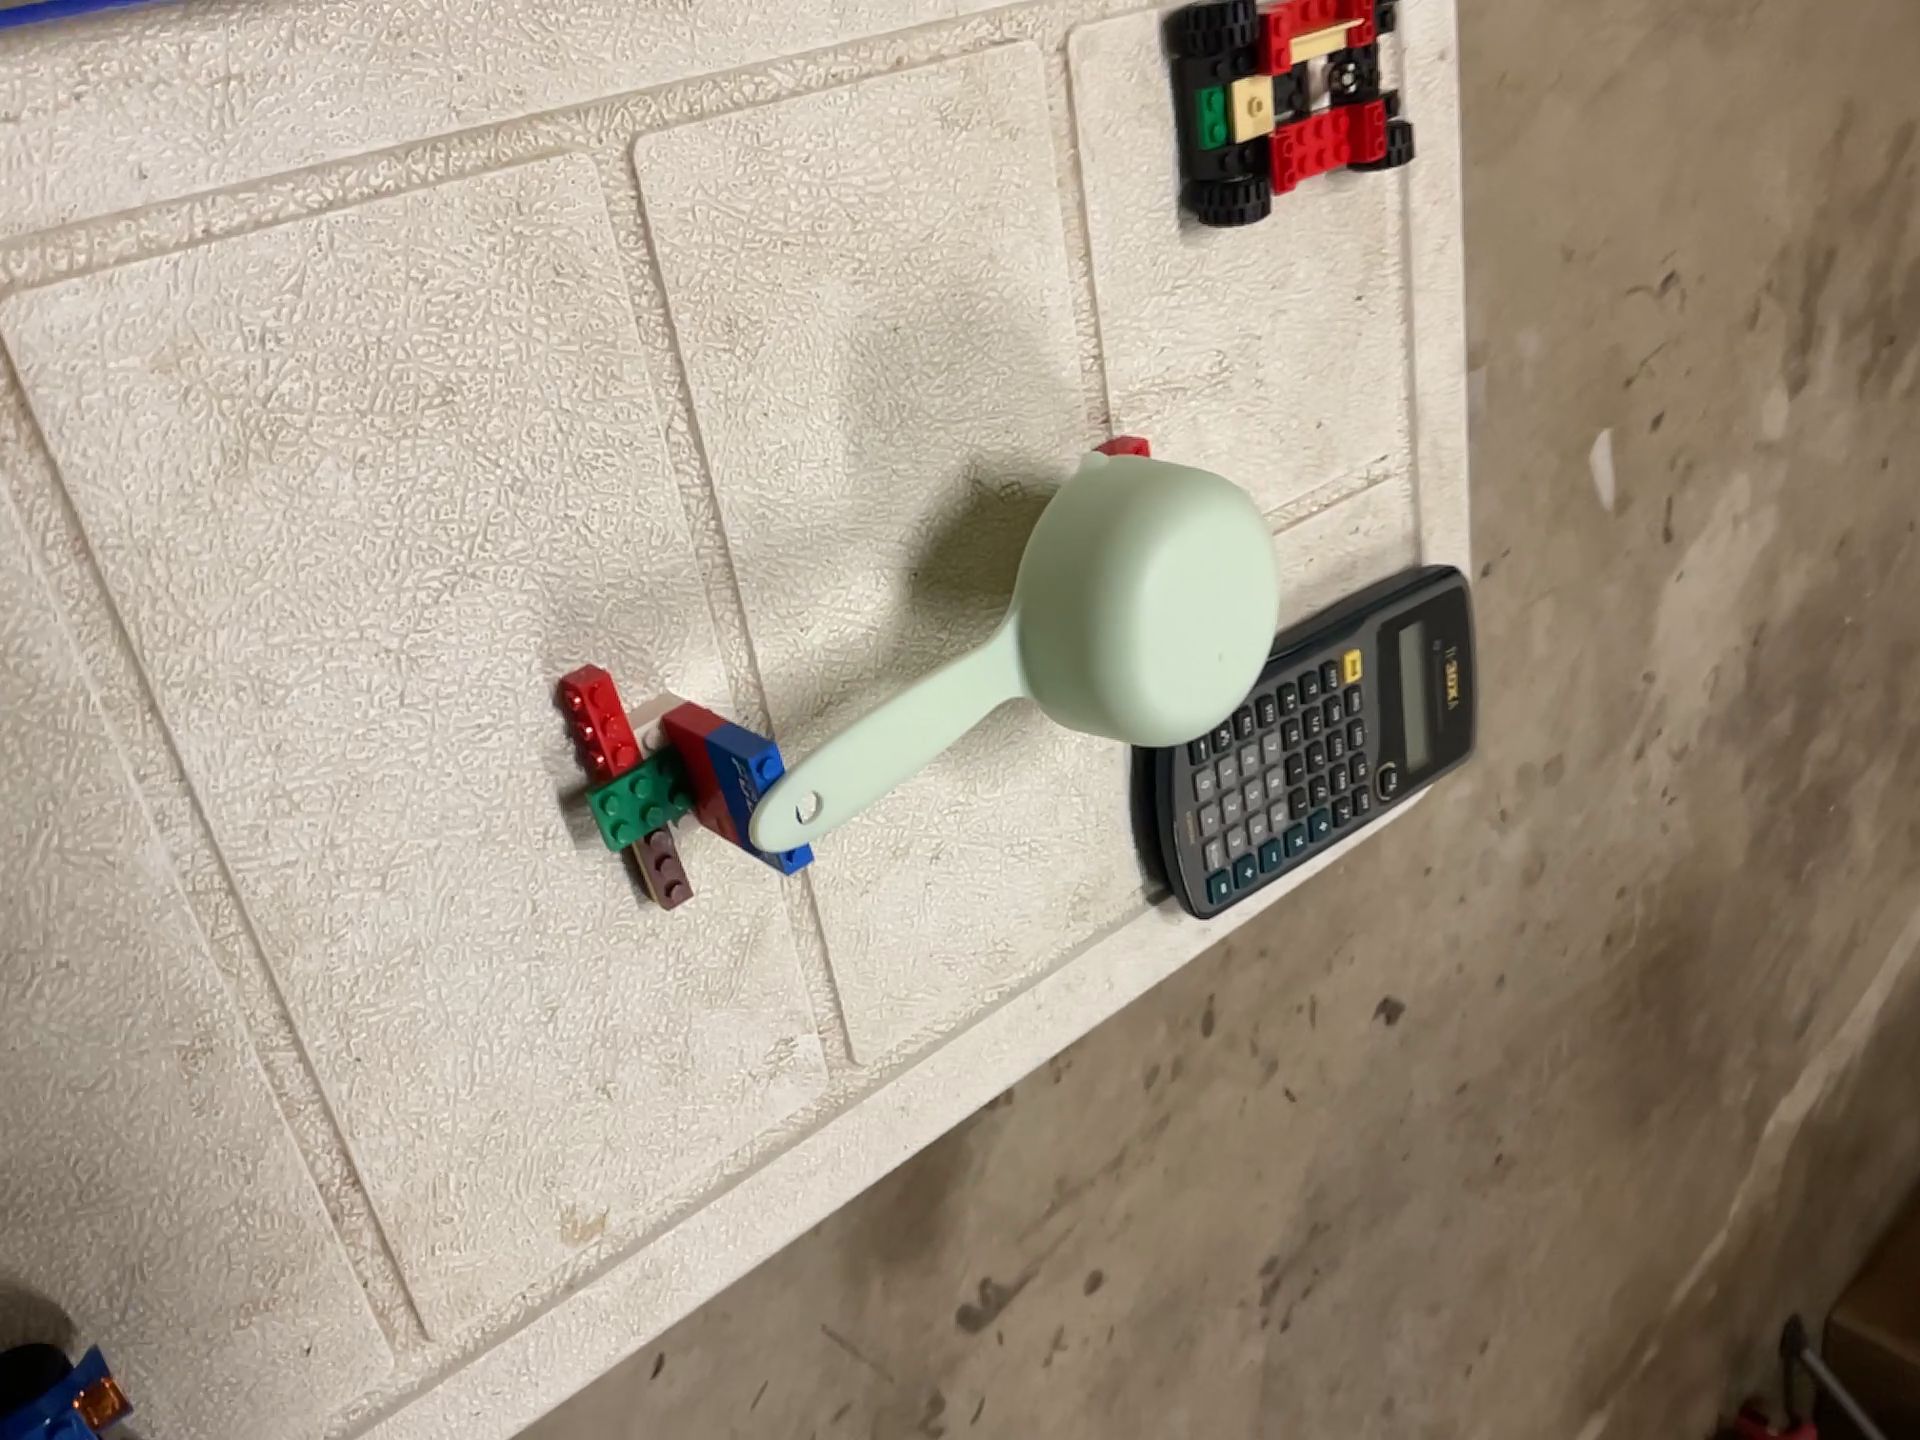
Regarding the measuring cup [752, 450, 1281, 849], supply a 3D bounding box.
[{"bbox_3d":[0.022,-0.009,0.395,0.167,0.038,0.083,-34,124,-35],"label":"measuring cup"}]
